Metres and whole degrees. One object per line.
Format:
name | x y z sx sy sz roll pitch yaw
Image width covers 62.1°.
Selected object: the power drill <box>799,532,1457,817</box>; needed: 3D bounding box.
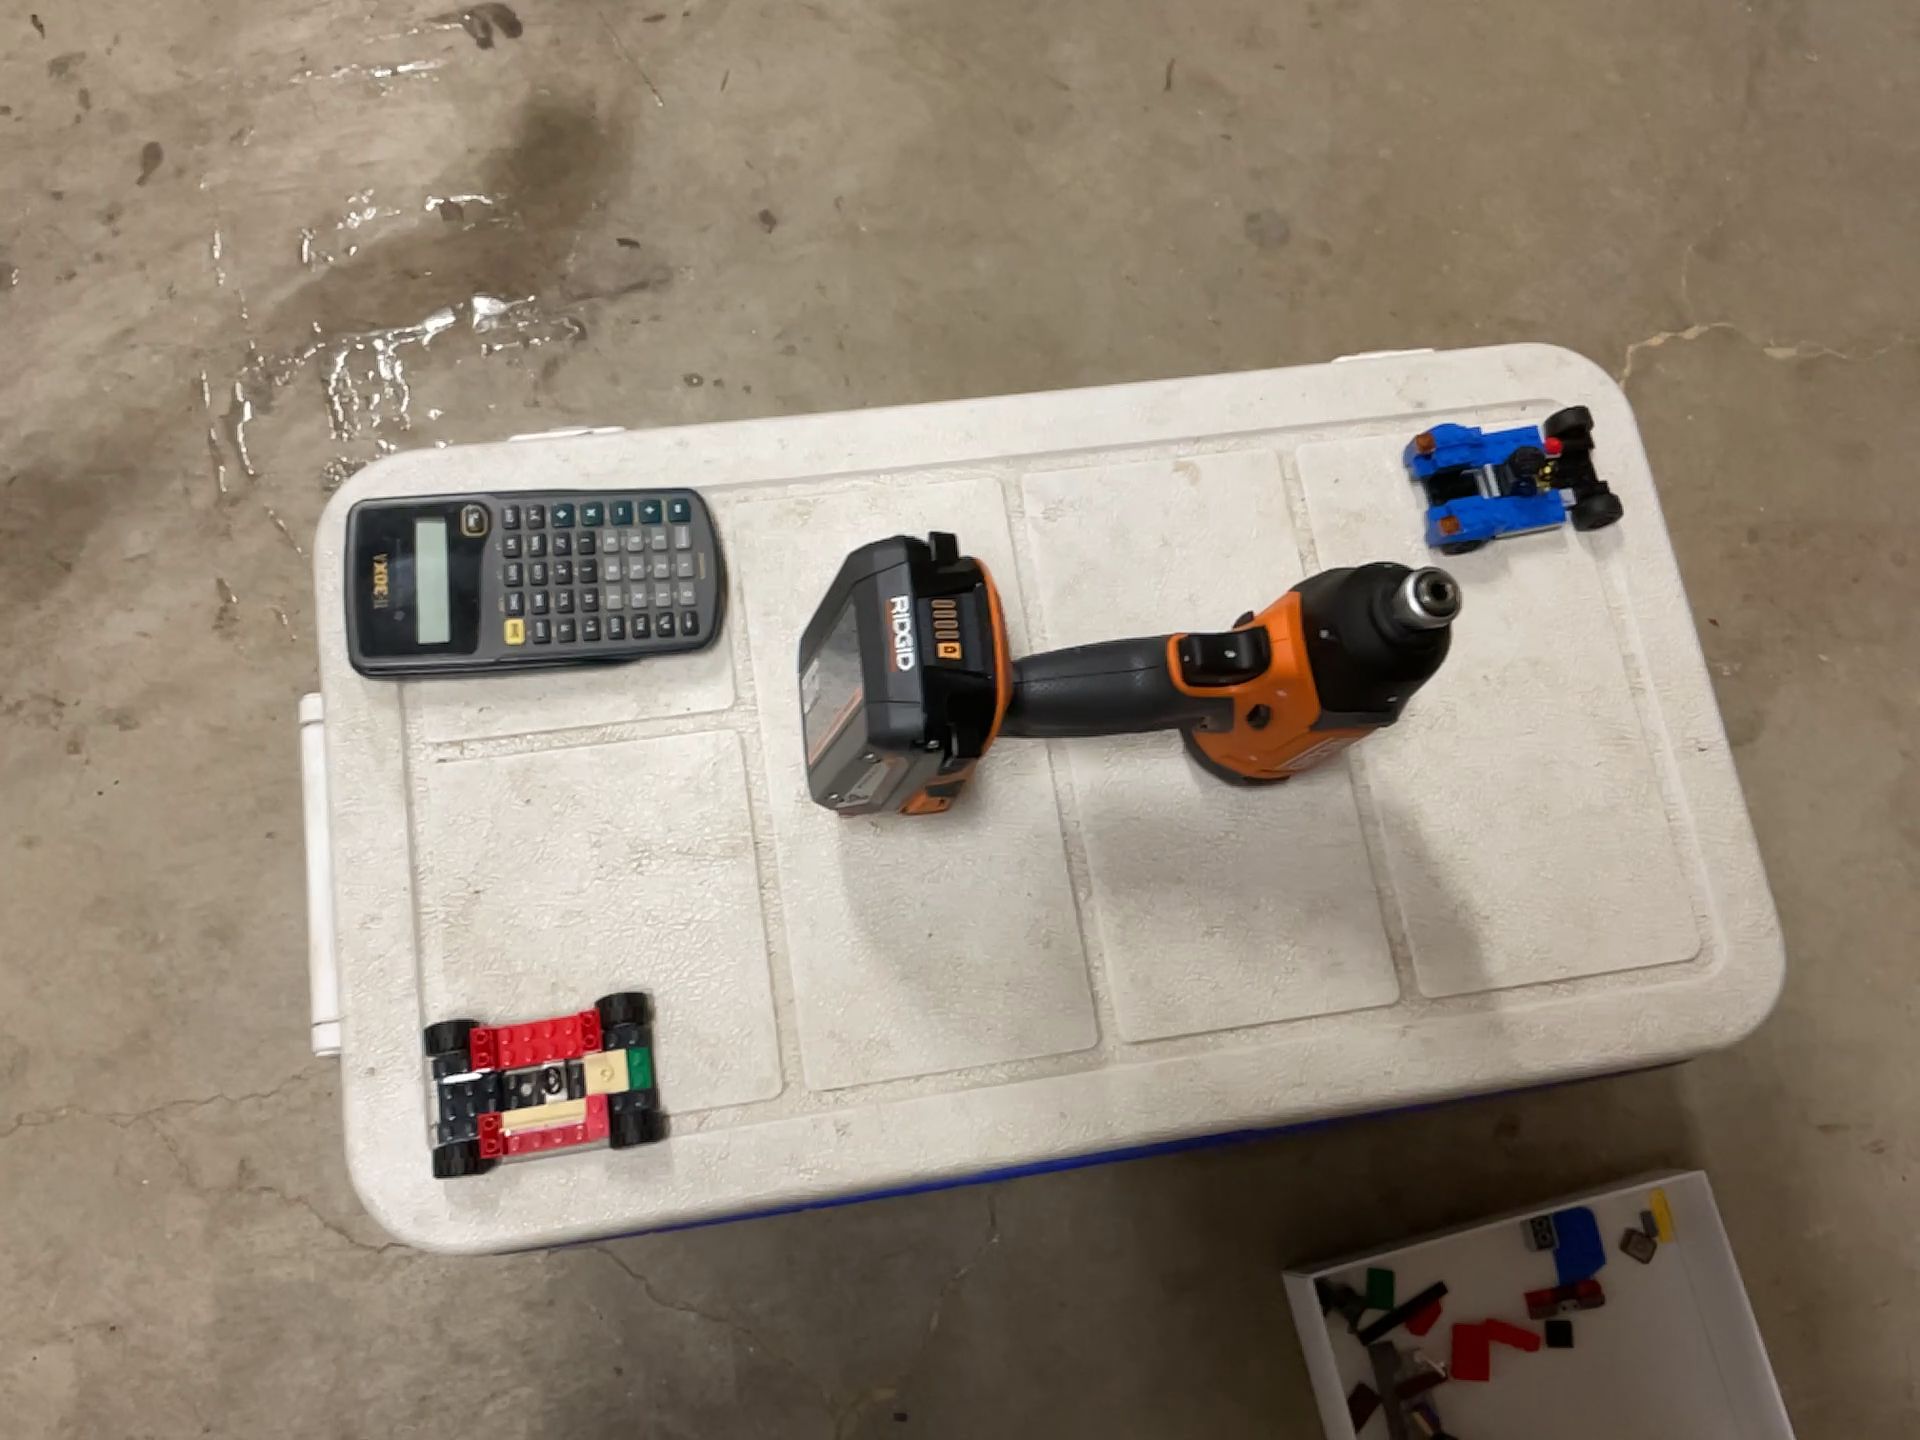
power drill | 0.065 -0.020 0.603 0.226 0.164 0.084 -1 74 -18
